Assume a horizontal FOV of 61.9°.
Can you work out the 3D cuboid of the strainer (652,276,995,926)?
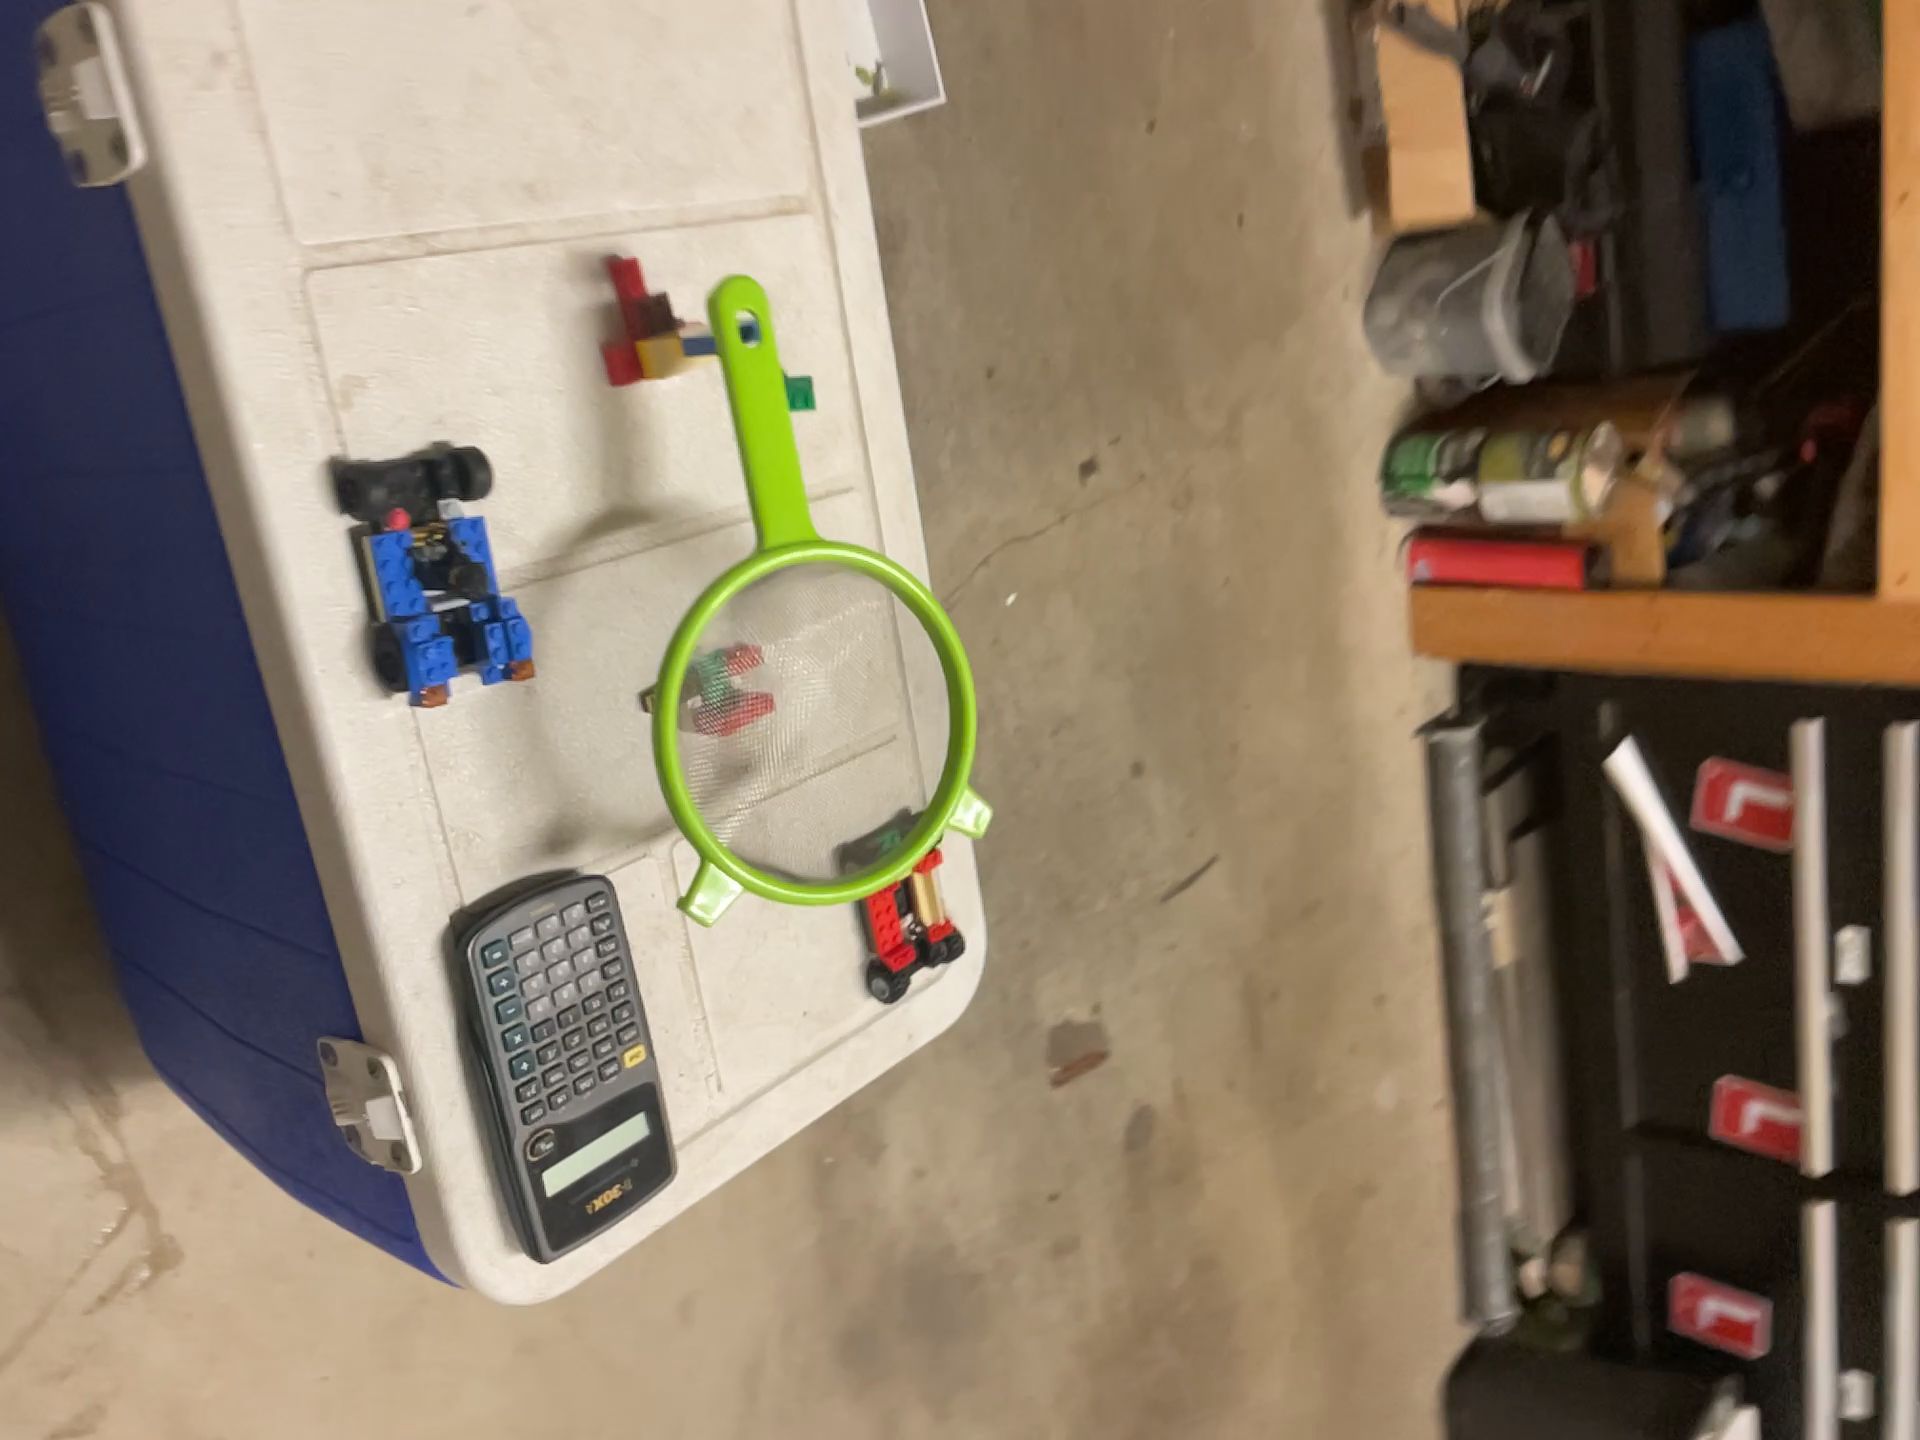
[{"bbox_3d":[-0.081,-0.051,0.672,0.152,0.069,0.256,-15,98,-34],"label":"strainer"}]
